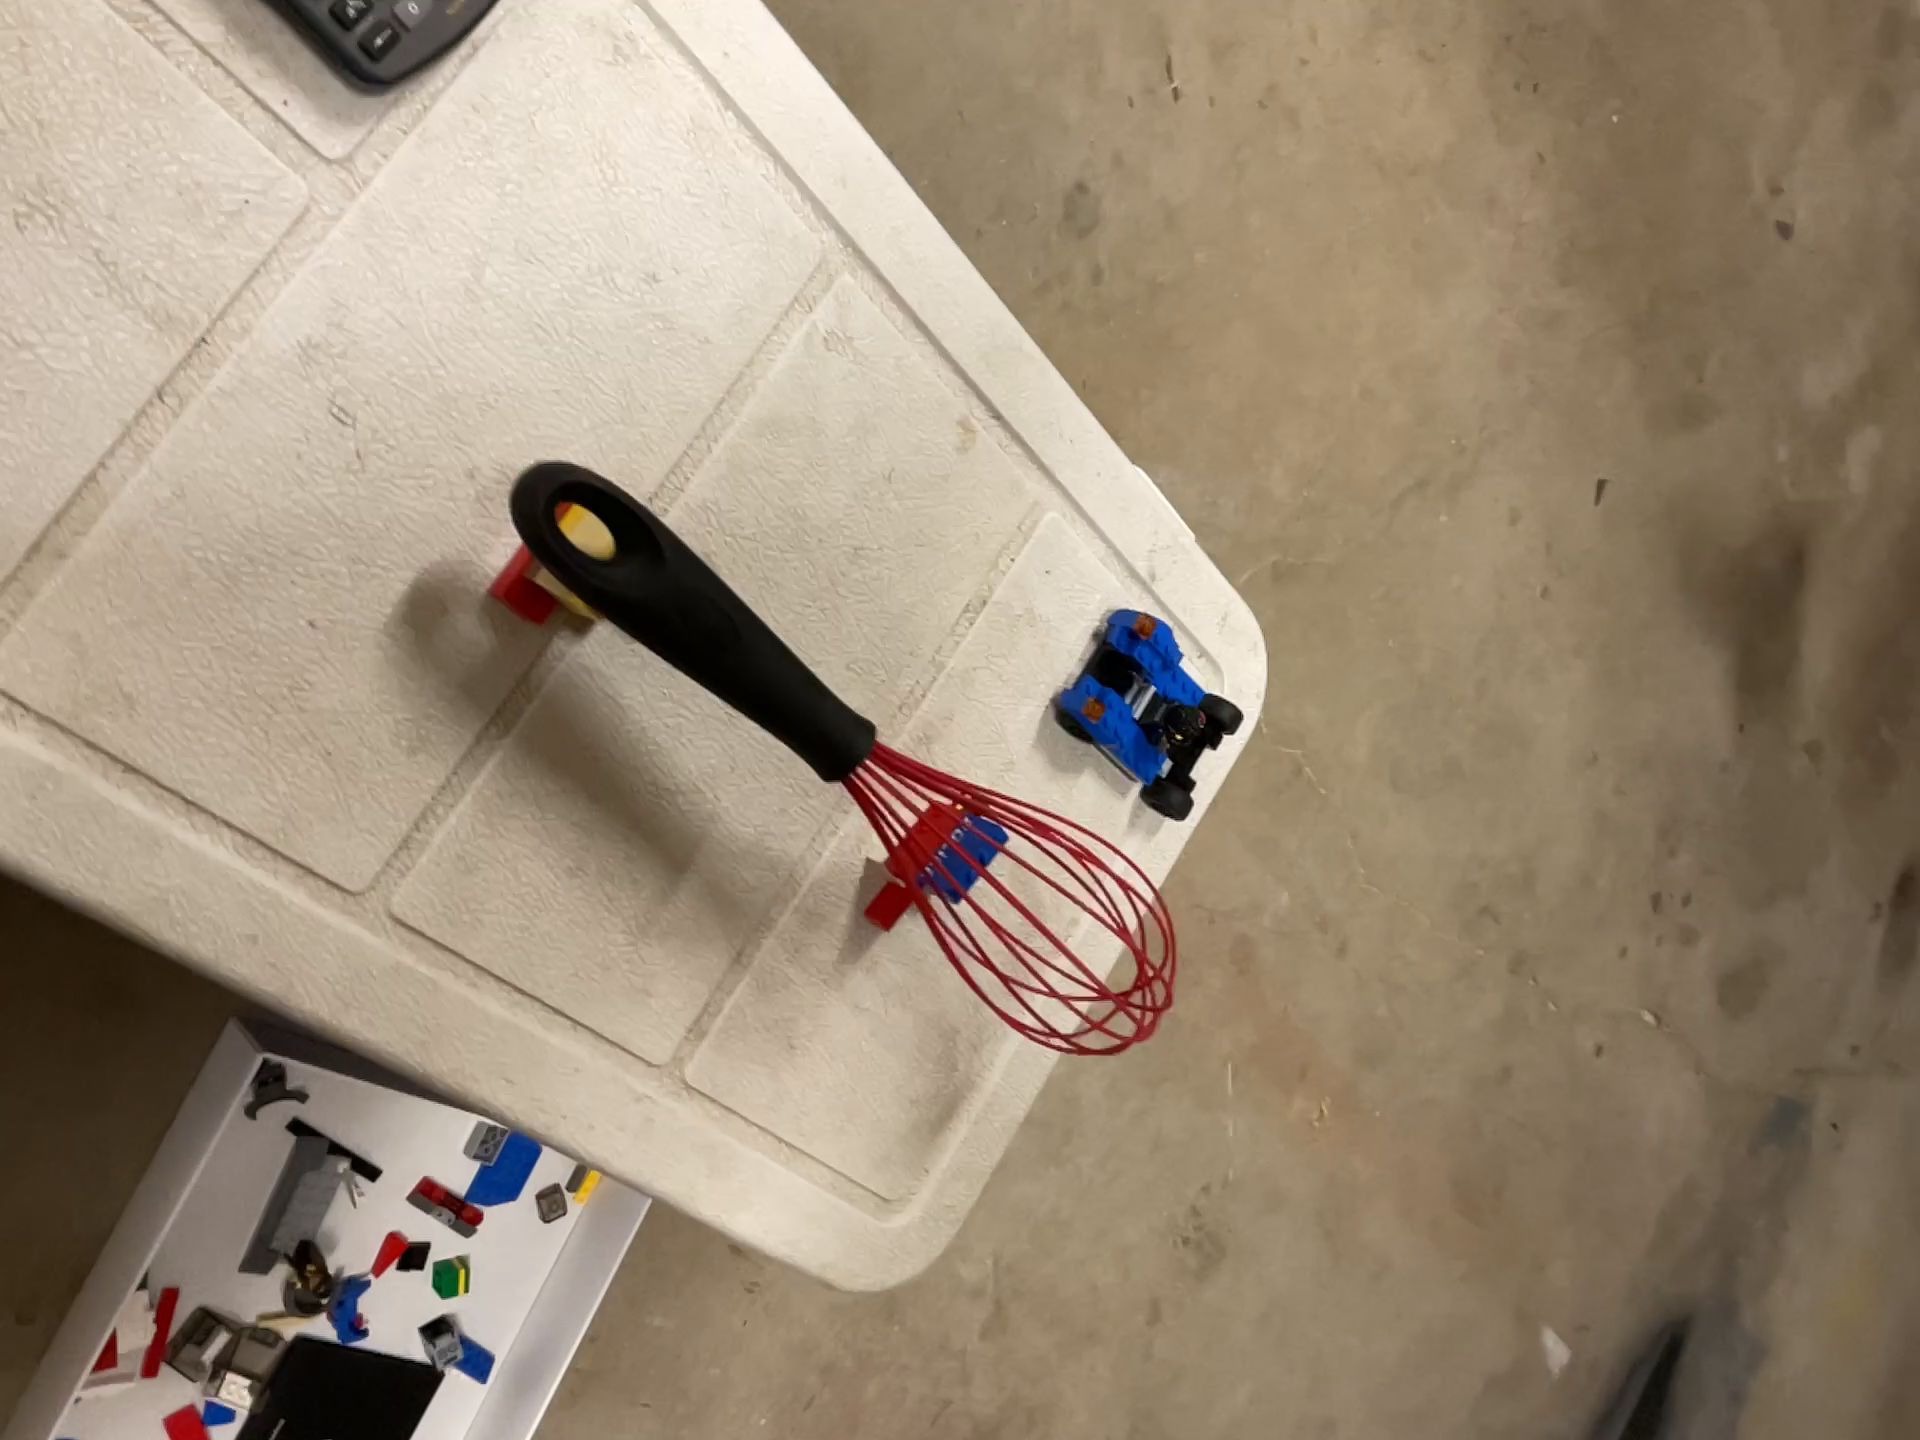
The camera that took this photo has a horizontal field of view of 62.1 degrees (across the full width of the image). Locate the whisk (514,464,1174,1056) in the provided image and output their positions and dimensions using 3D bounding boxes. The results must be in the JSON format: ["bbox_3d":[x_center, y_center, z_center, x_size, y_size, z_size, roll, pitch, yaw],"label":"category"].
[{"bbox_3d":[-0.023,0.022,0.506,0.295,0.073,0.073,42,77,-29],"label":"whisk"}]
